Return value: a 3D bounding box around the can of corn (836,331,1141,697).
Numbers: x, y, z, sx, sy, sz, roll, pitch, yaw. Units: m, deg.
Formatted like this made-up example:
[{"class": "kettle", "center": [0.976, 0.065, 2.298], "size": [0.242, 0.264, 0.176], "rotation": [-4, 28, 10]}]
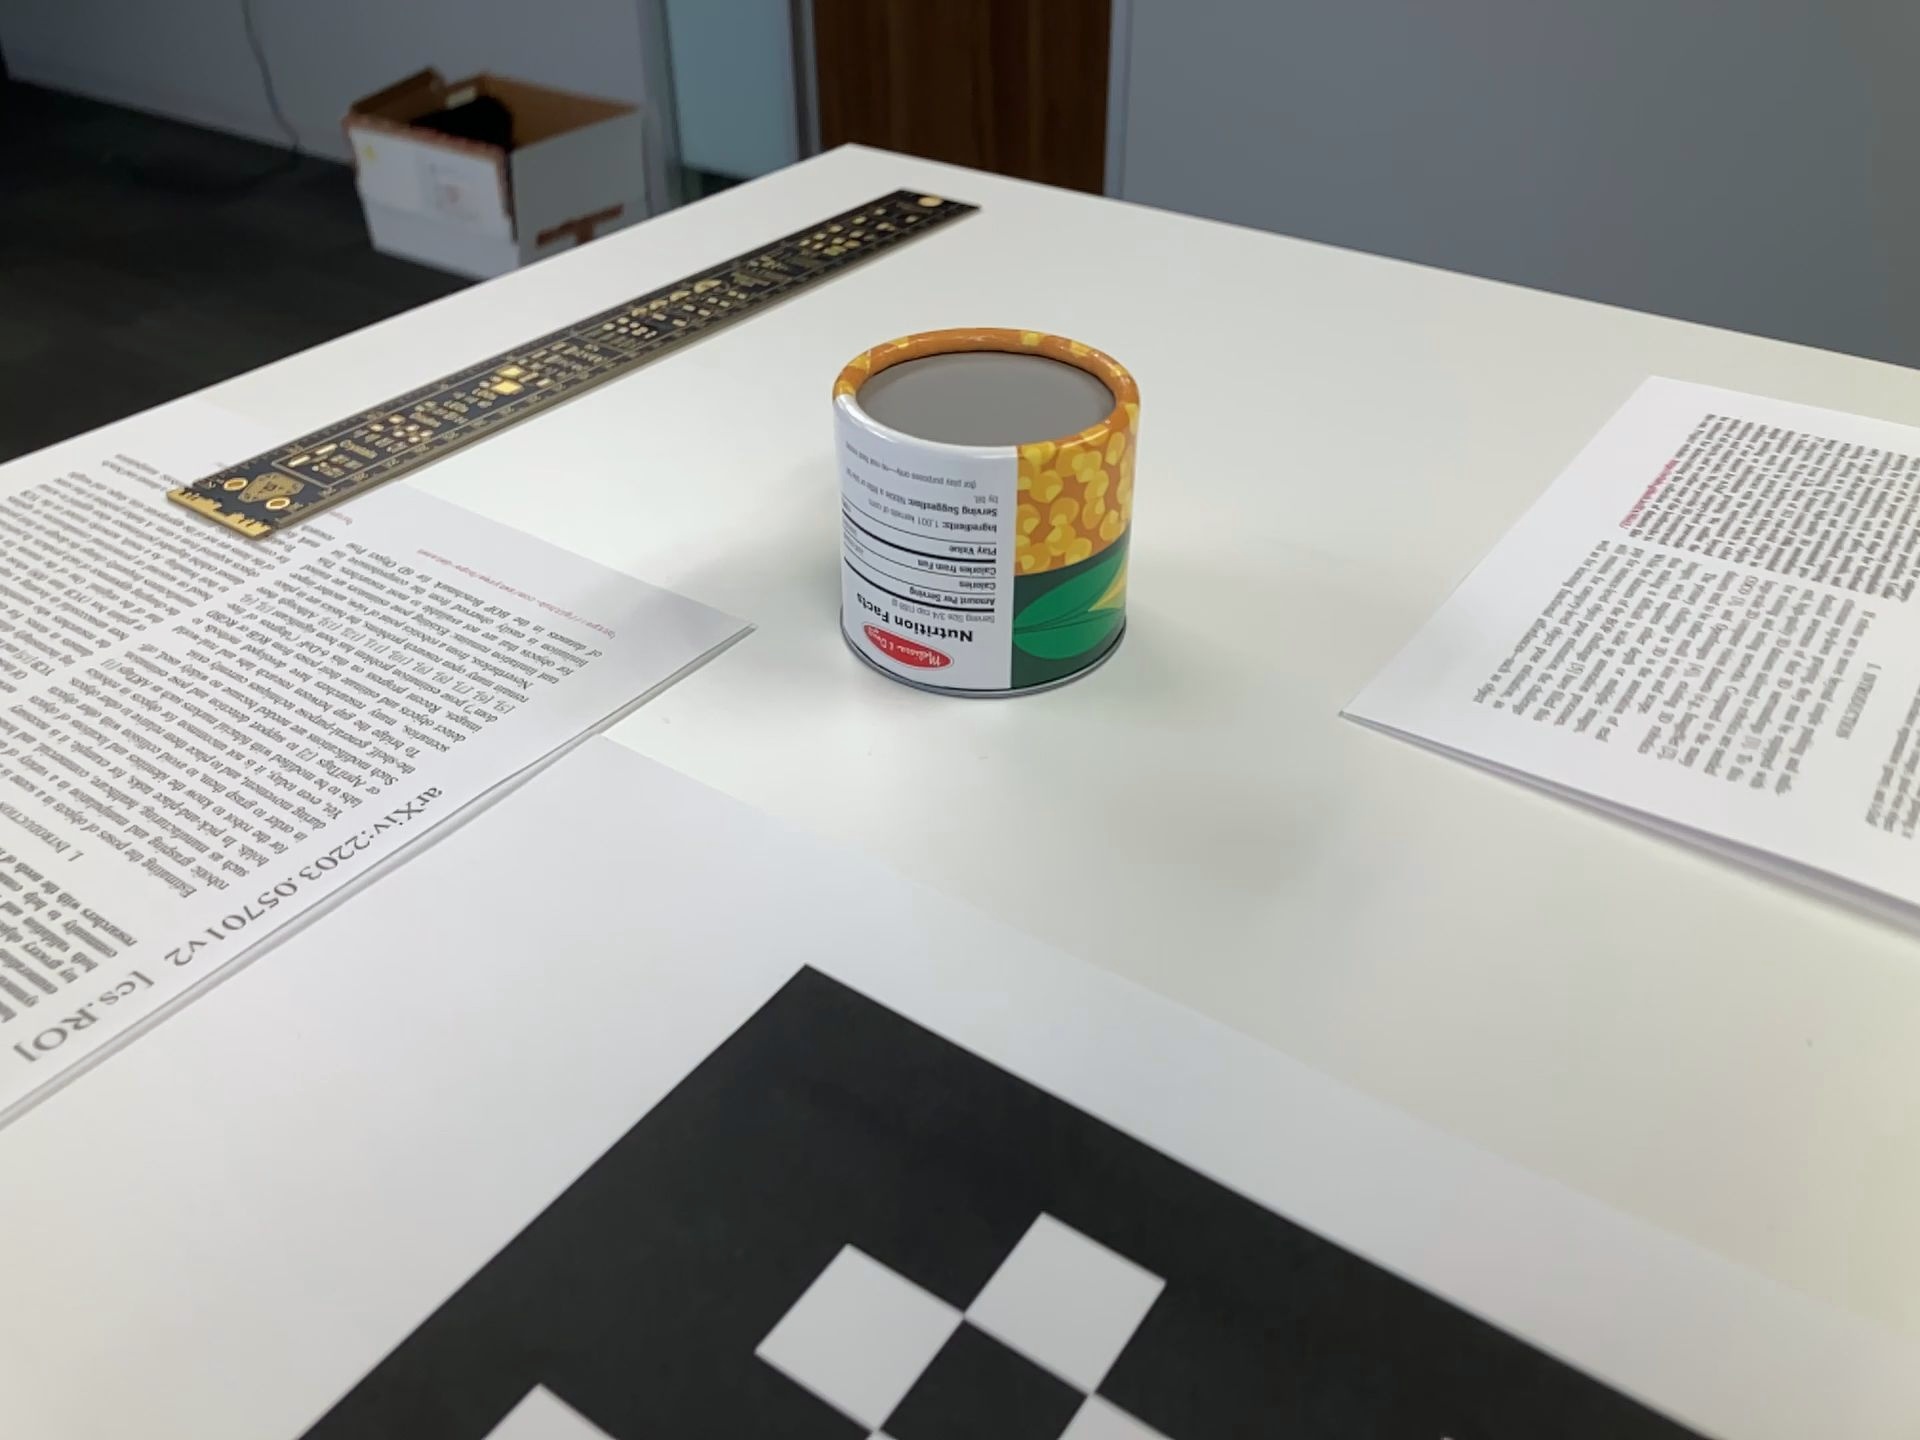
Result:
[{"class": "can of corn", "center": [0.007, -0.049, 0.355], "size": [0.071, 0.058, 0.071], "rotation": [0, 35, 0]}]
